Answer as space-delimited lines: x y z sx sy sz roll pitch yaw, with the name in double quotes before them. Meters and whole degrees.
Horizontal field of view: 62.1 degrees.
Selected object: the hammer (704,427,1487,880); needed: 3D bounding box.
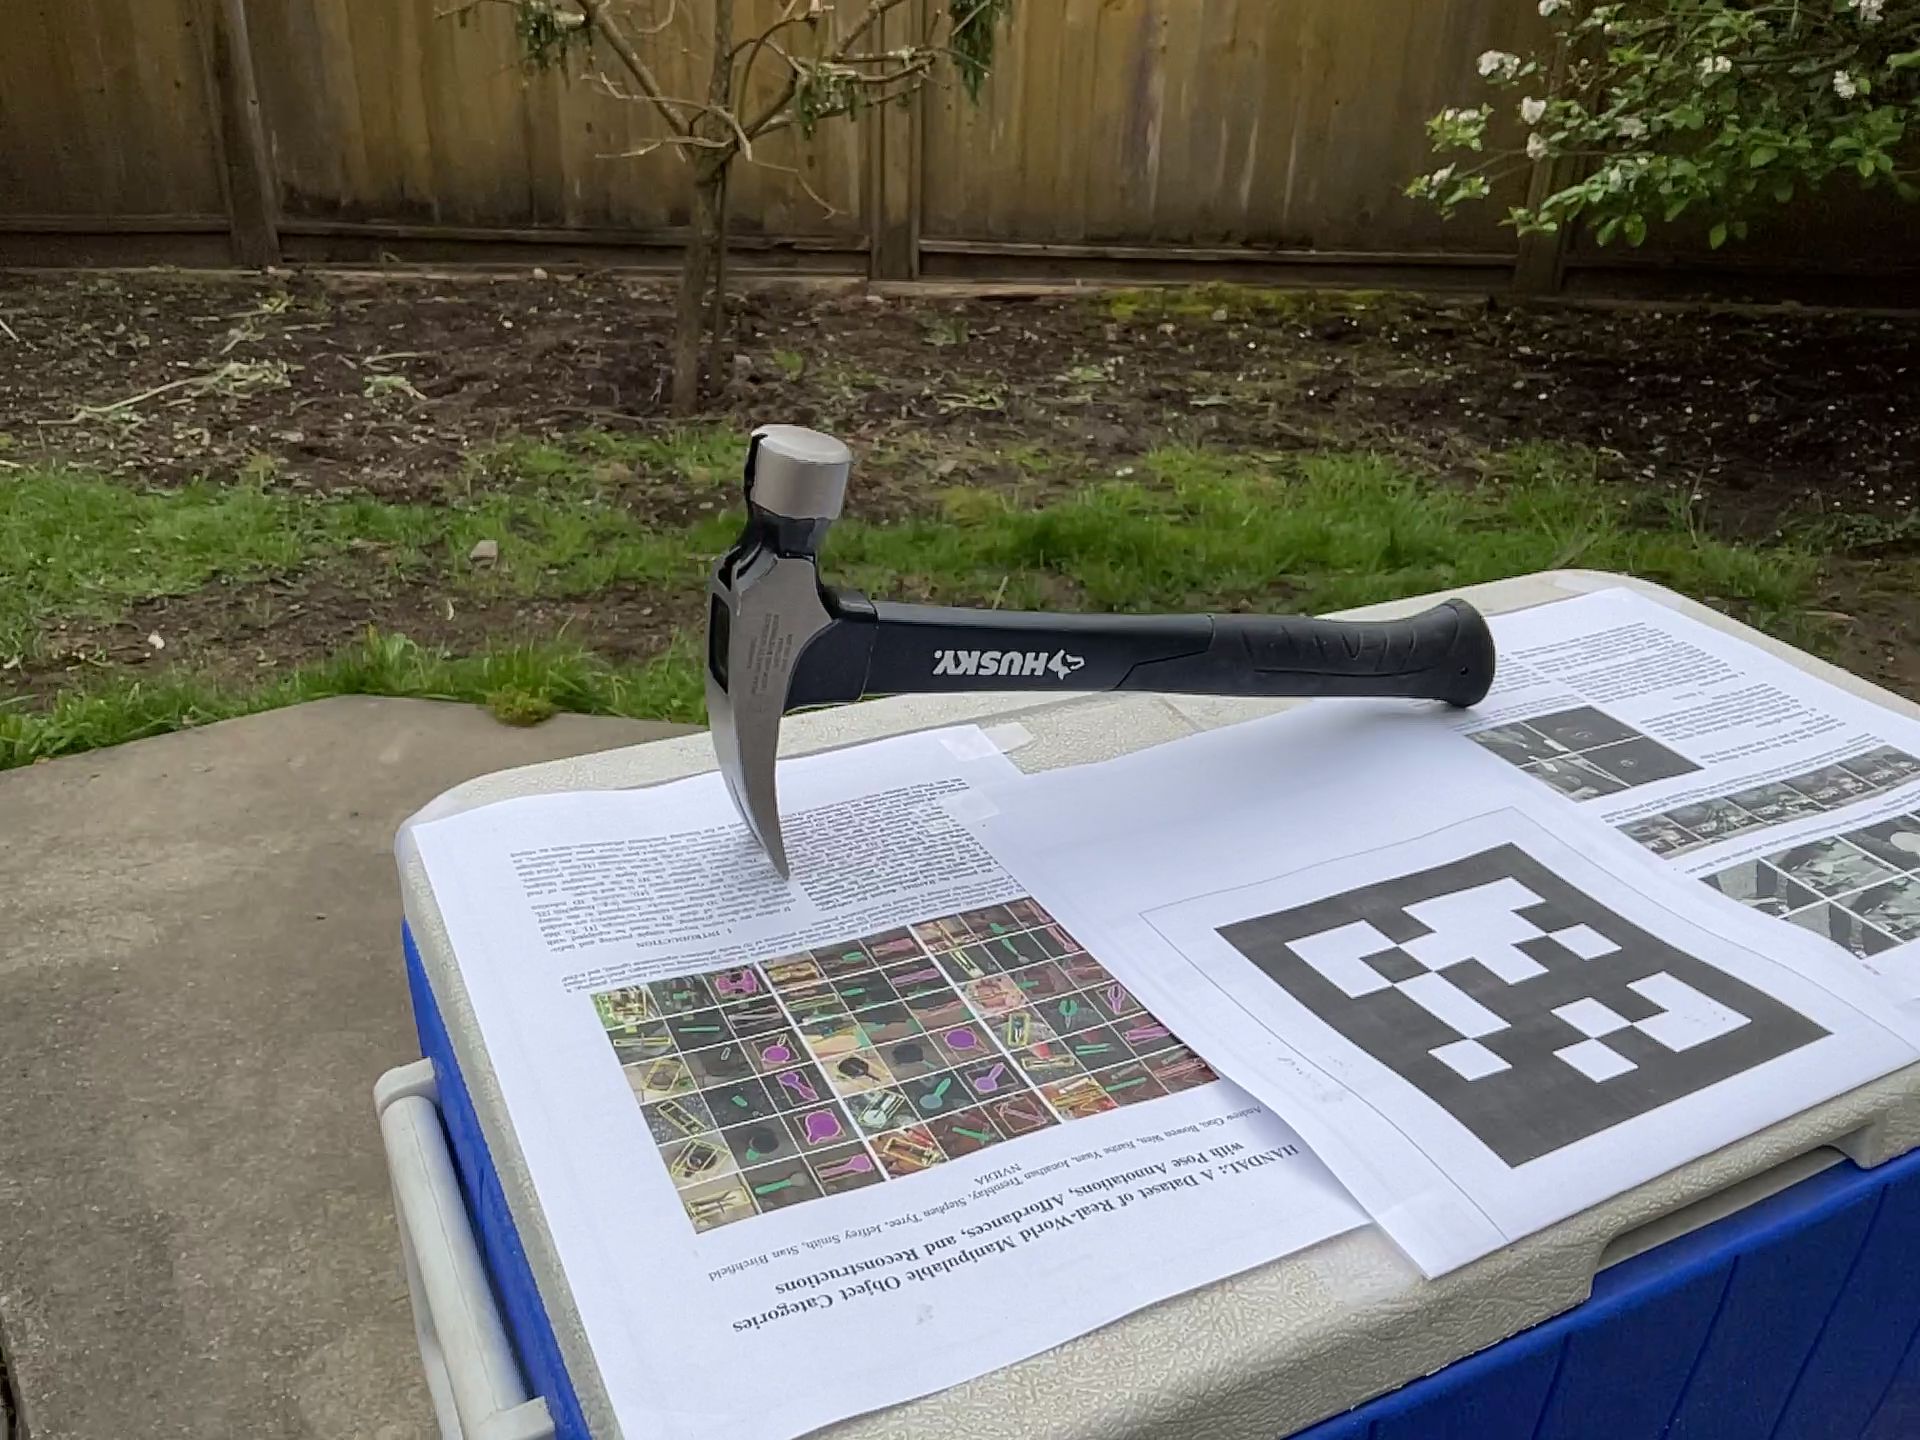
"hammer" 0.066 -0.019 0.586 0.334 0.146 0.035 0 26 -30
